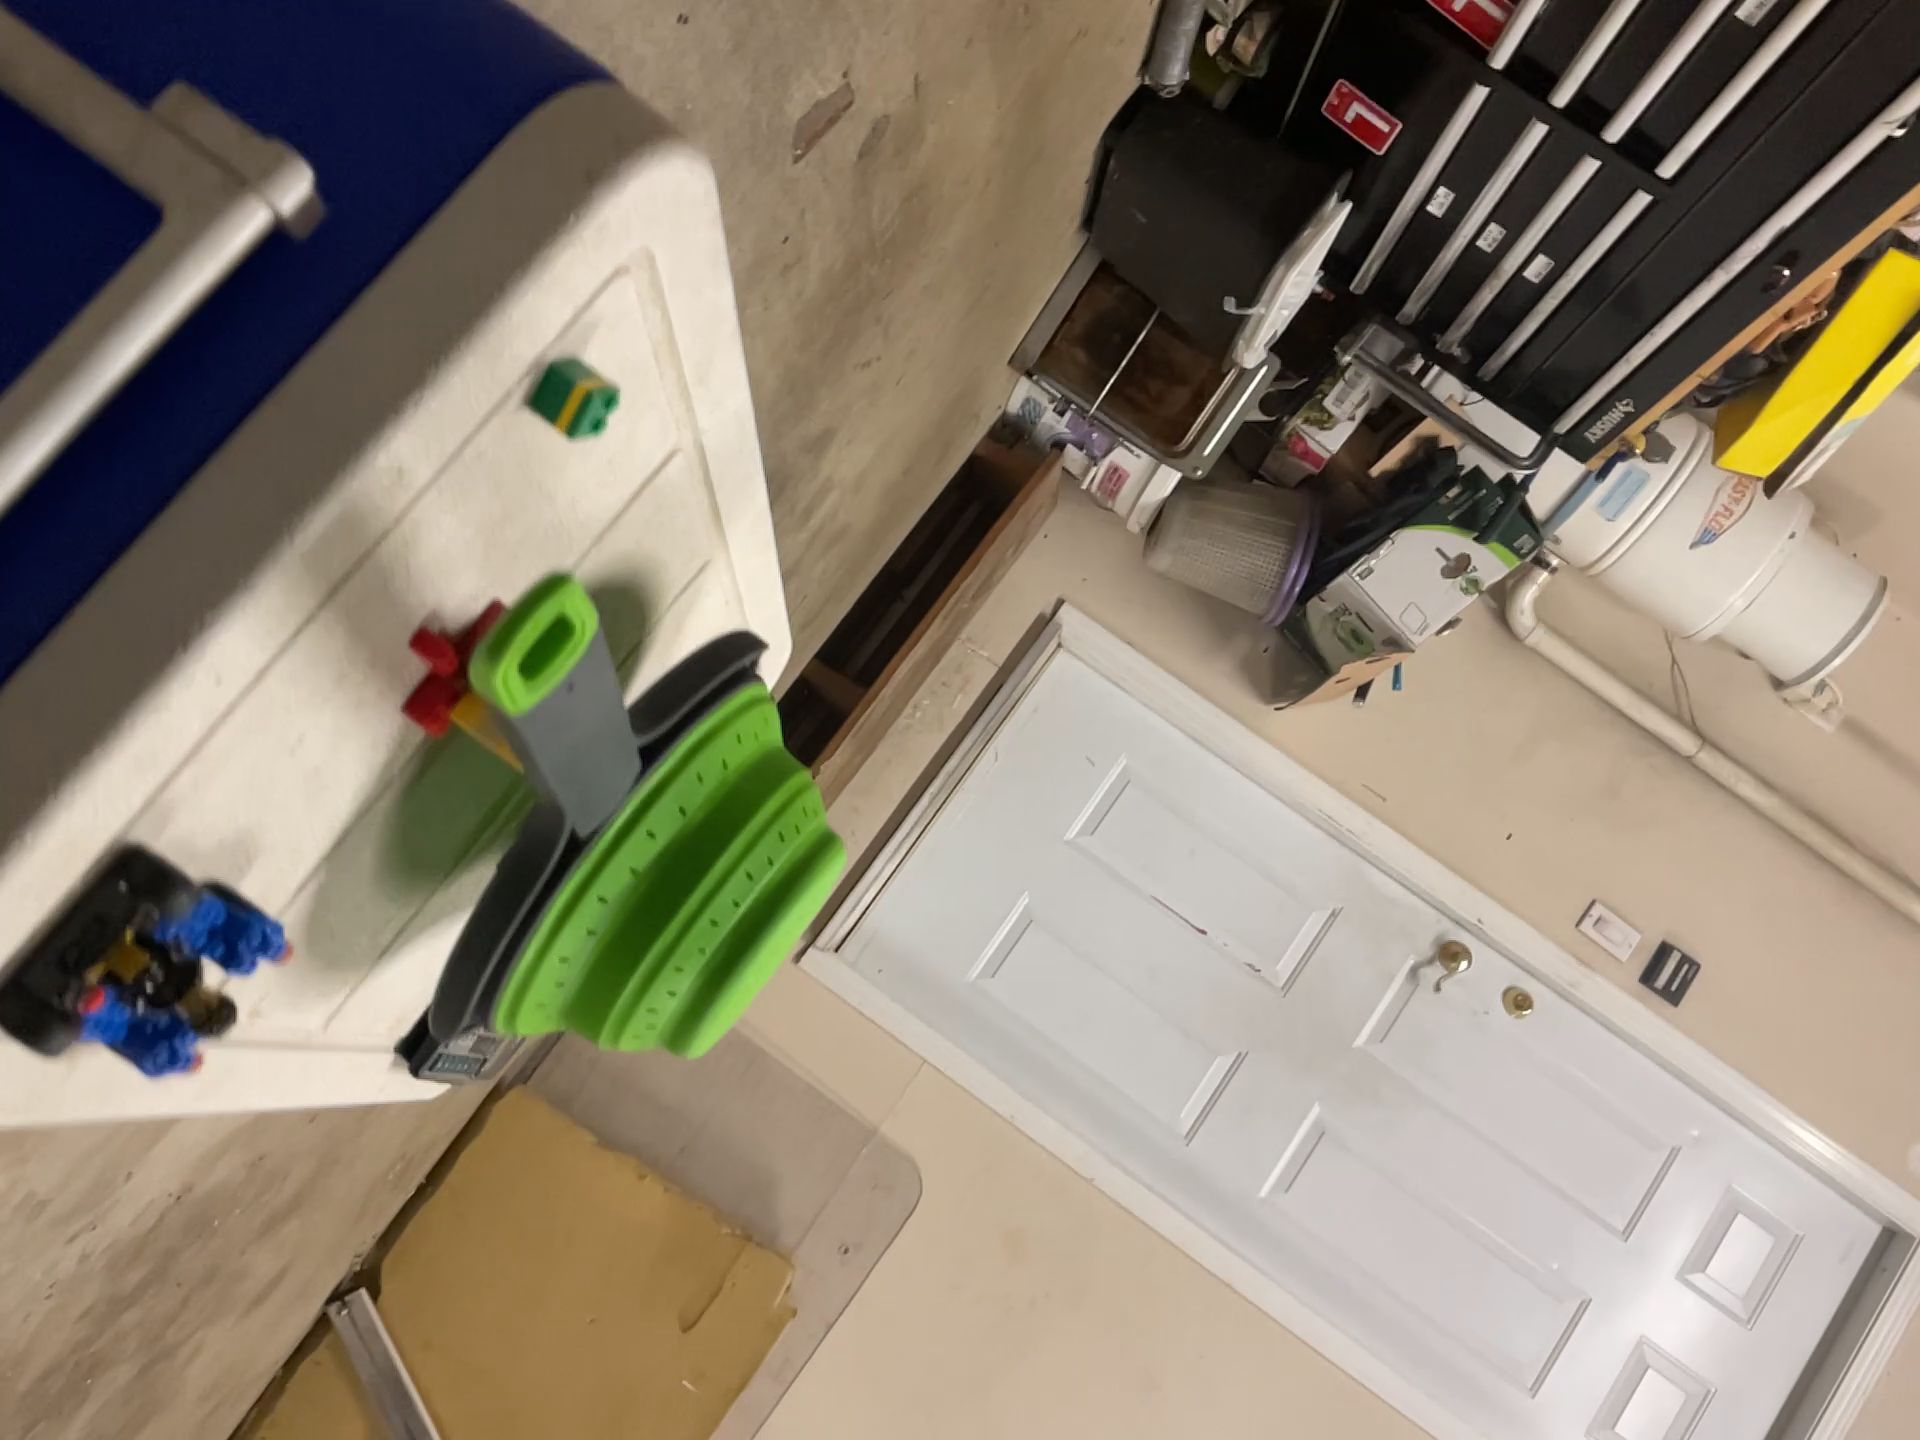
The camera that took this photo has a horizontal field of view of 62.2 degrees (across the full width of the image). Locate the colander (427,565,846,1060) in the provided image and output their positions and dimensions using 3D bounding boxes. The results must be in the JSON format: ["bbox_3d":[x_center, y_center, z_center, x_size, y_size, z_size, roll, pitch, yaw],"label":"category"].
[{"bbox_3d":[-0.103,0.047,0.572,0.205,0.094,0.396,-54,176,-17],"label":"colander"}]
